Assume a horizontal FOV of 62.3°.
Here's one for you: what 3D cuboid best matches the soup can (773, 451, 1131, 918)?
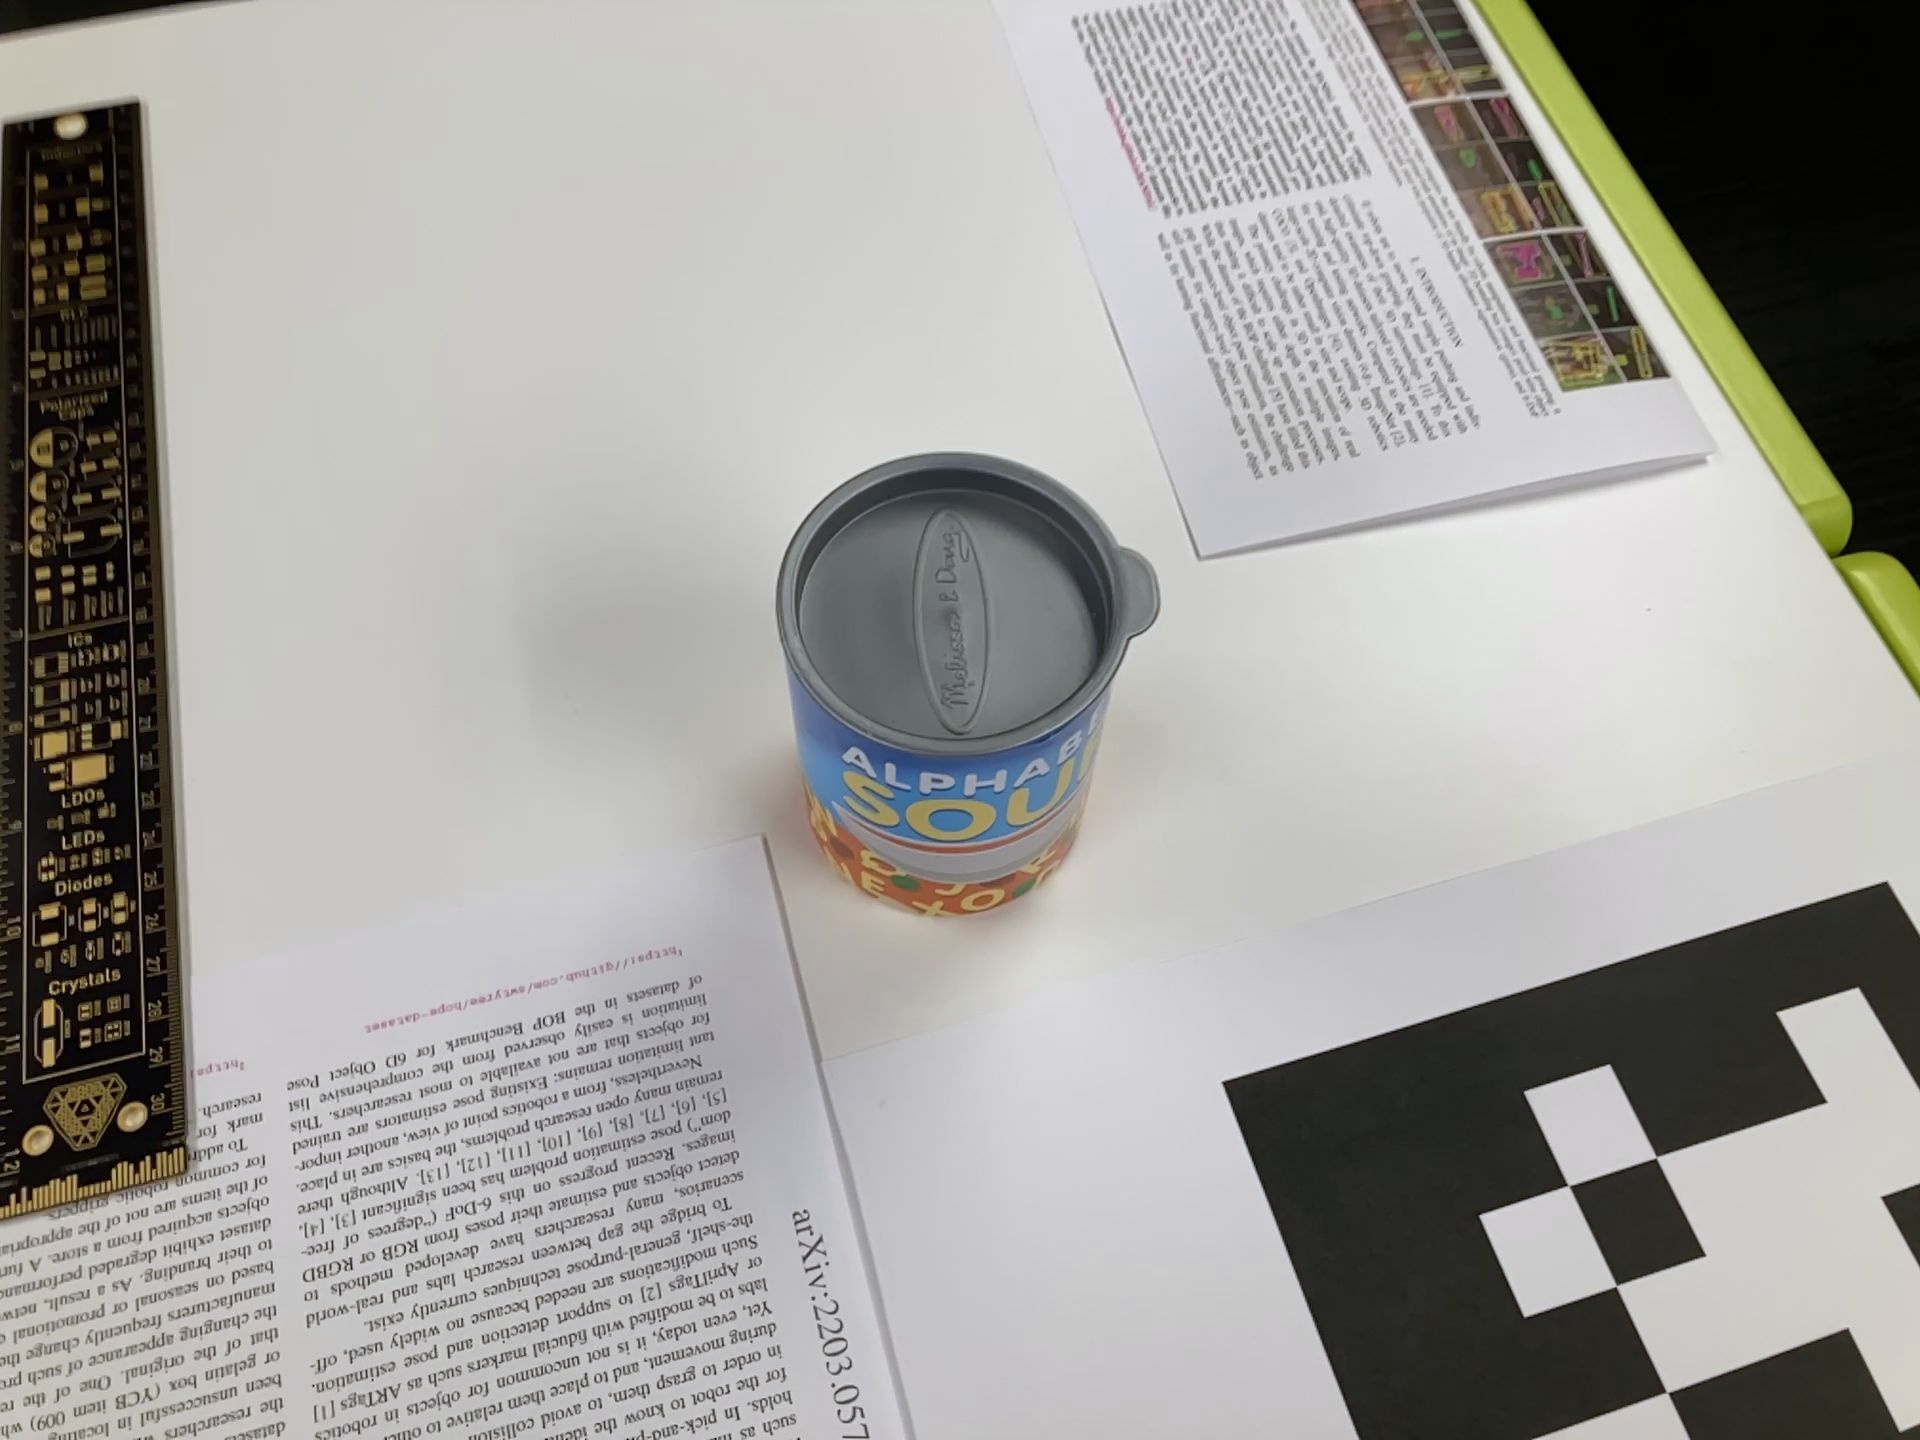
[{"bbox_3d":[-0.001,-0.001,0.329,0.071,0.084,0.071,0,62,-1],"label":"soup can"}]
